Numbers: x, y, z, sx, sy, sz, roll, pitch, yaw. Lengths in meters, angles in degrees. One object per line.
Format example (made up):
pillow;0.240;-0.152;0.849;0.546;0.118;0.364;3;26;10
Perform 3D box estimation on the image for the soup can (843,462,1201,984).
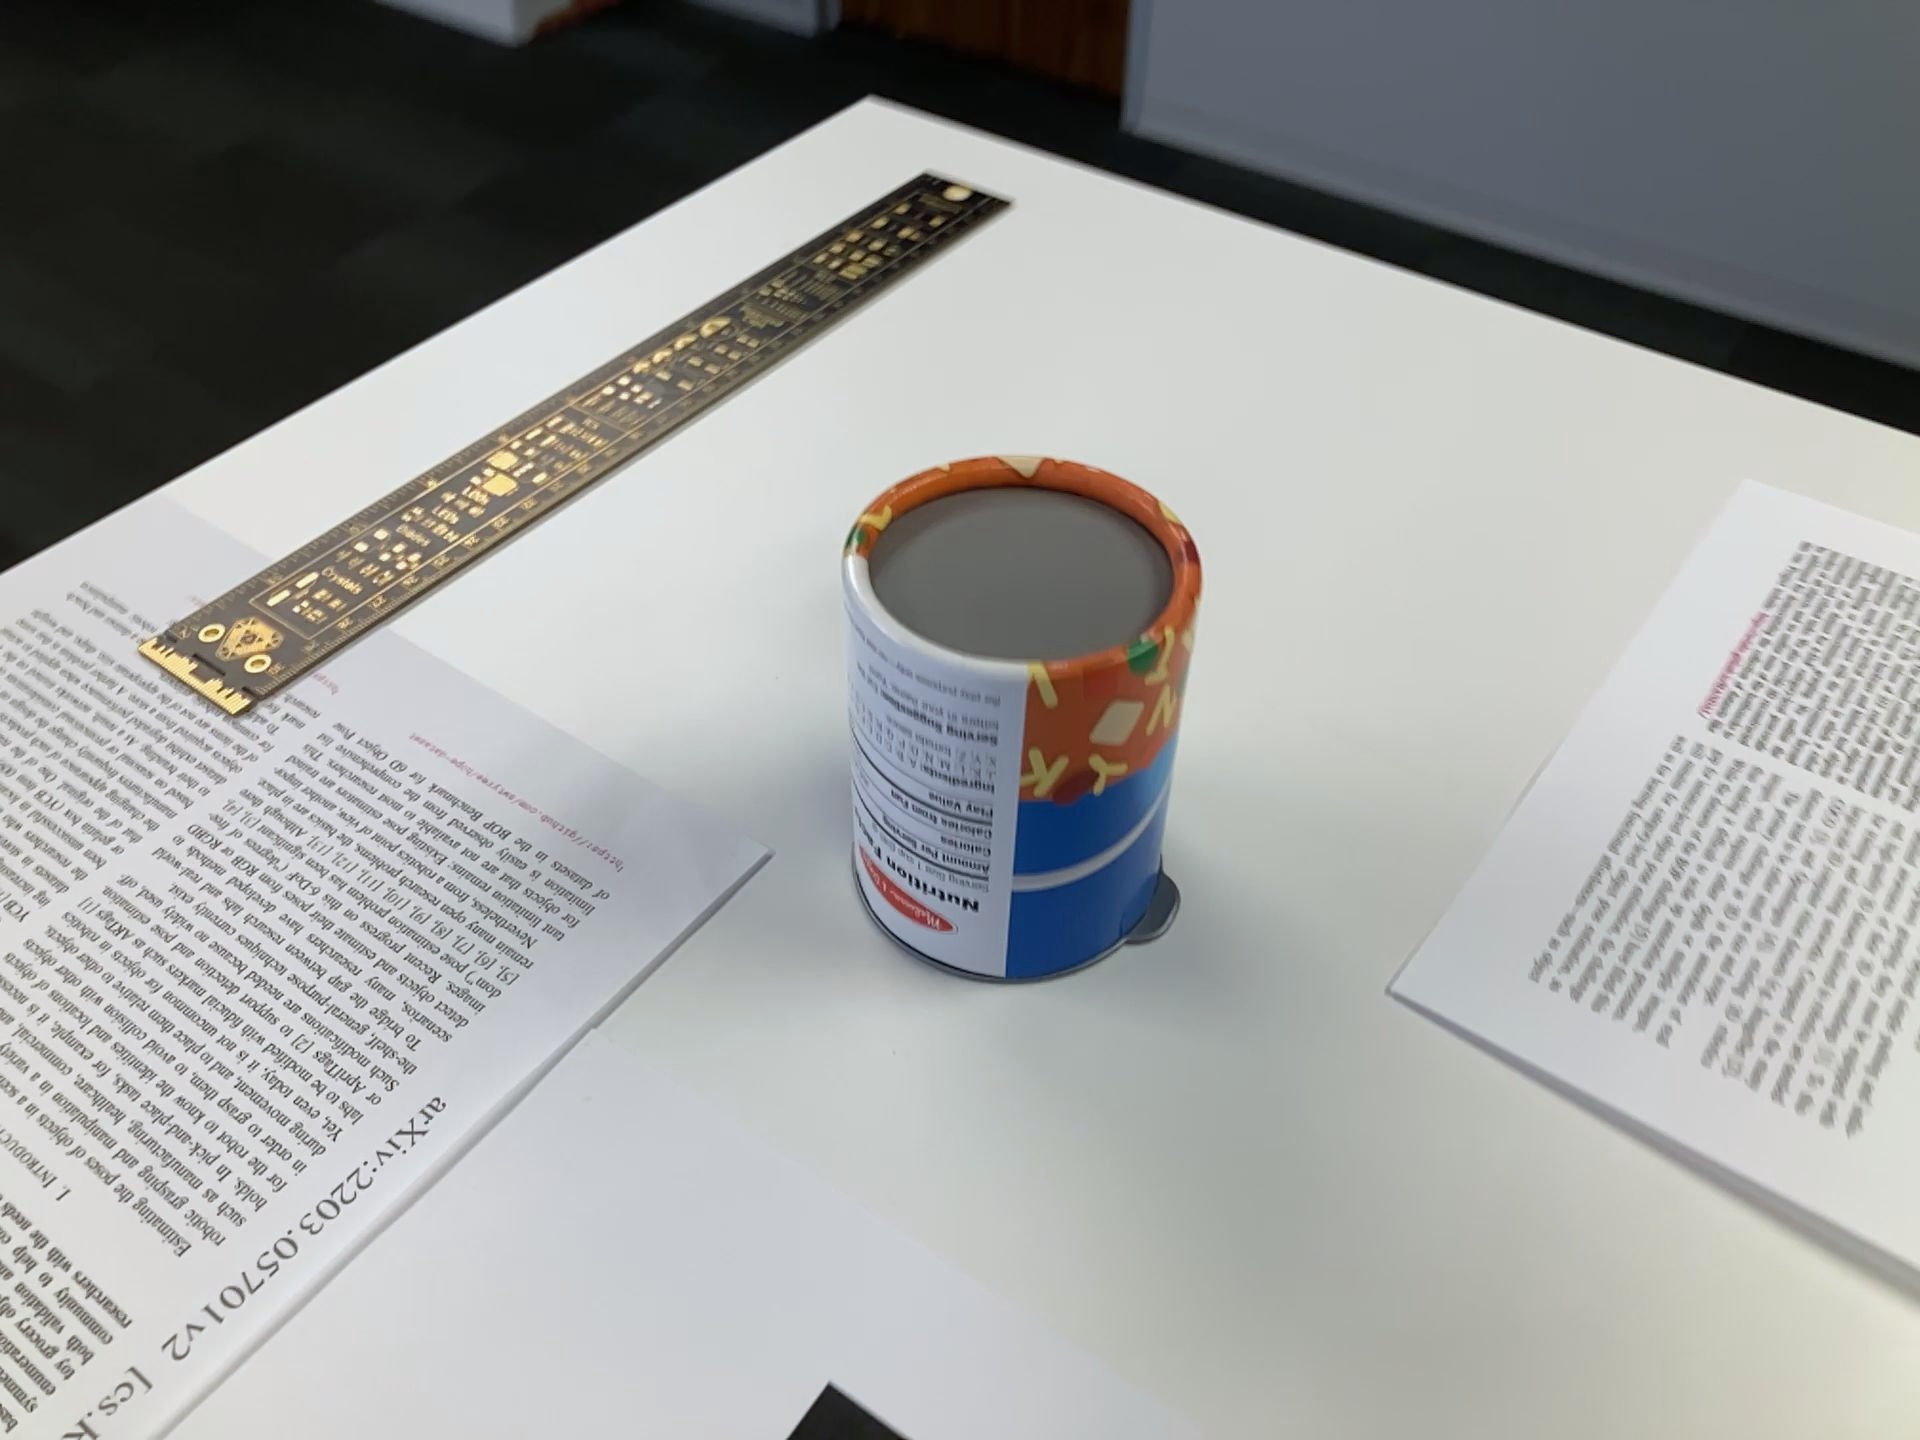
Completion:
soup can;0.012;-0.001;0.318;0.071;0.084;0.071;1;44;-1
